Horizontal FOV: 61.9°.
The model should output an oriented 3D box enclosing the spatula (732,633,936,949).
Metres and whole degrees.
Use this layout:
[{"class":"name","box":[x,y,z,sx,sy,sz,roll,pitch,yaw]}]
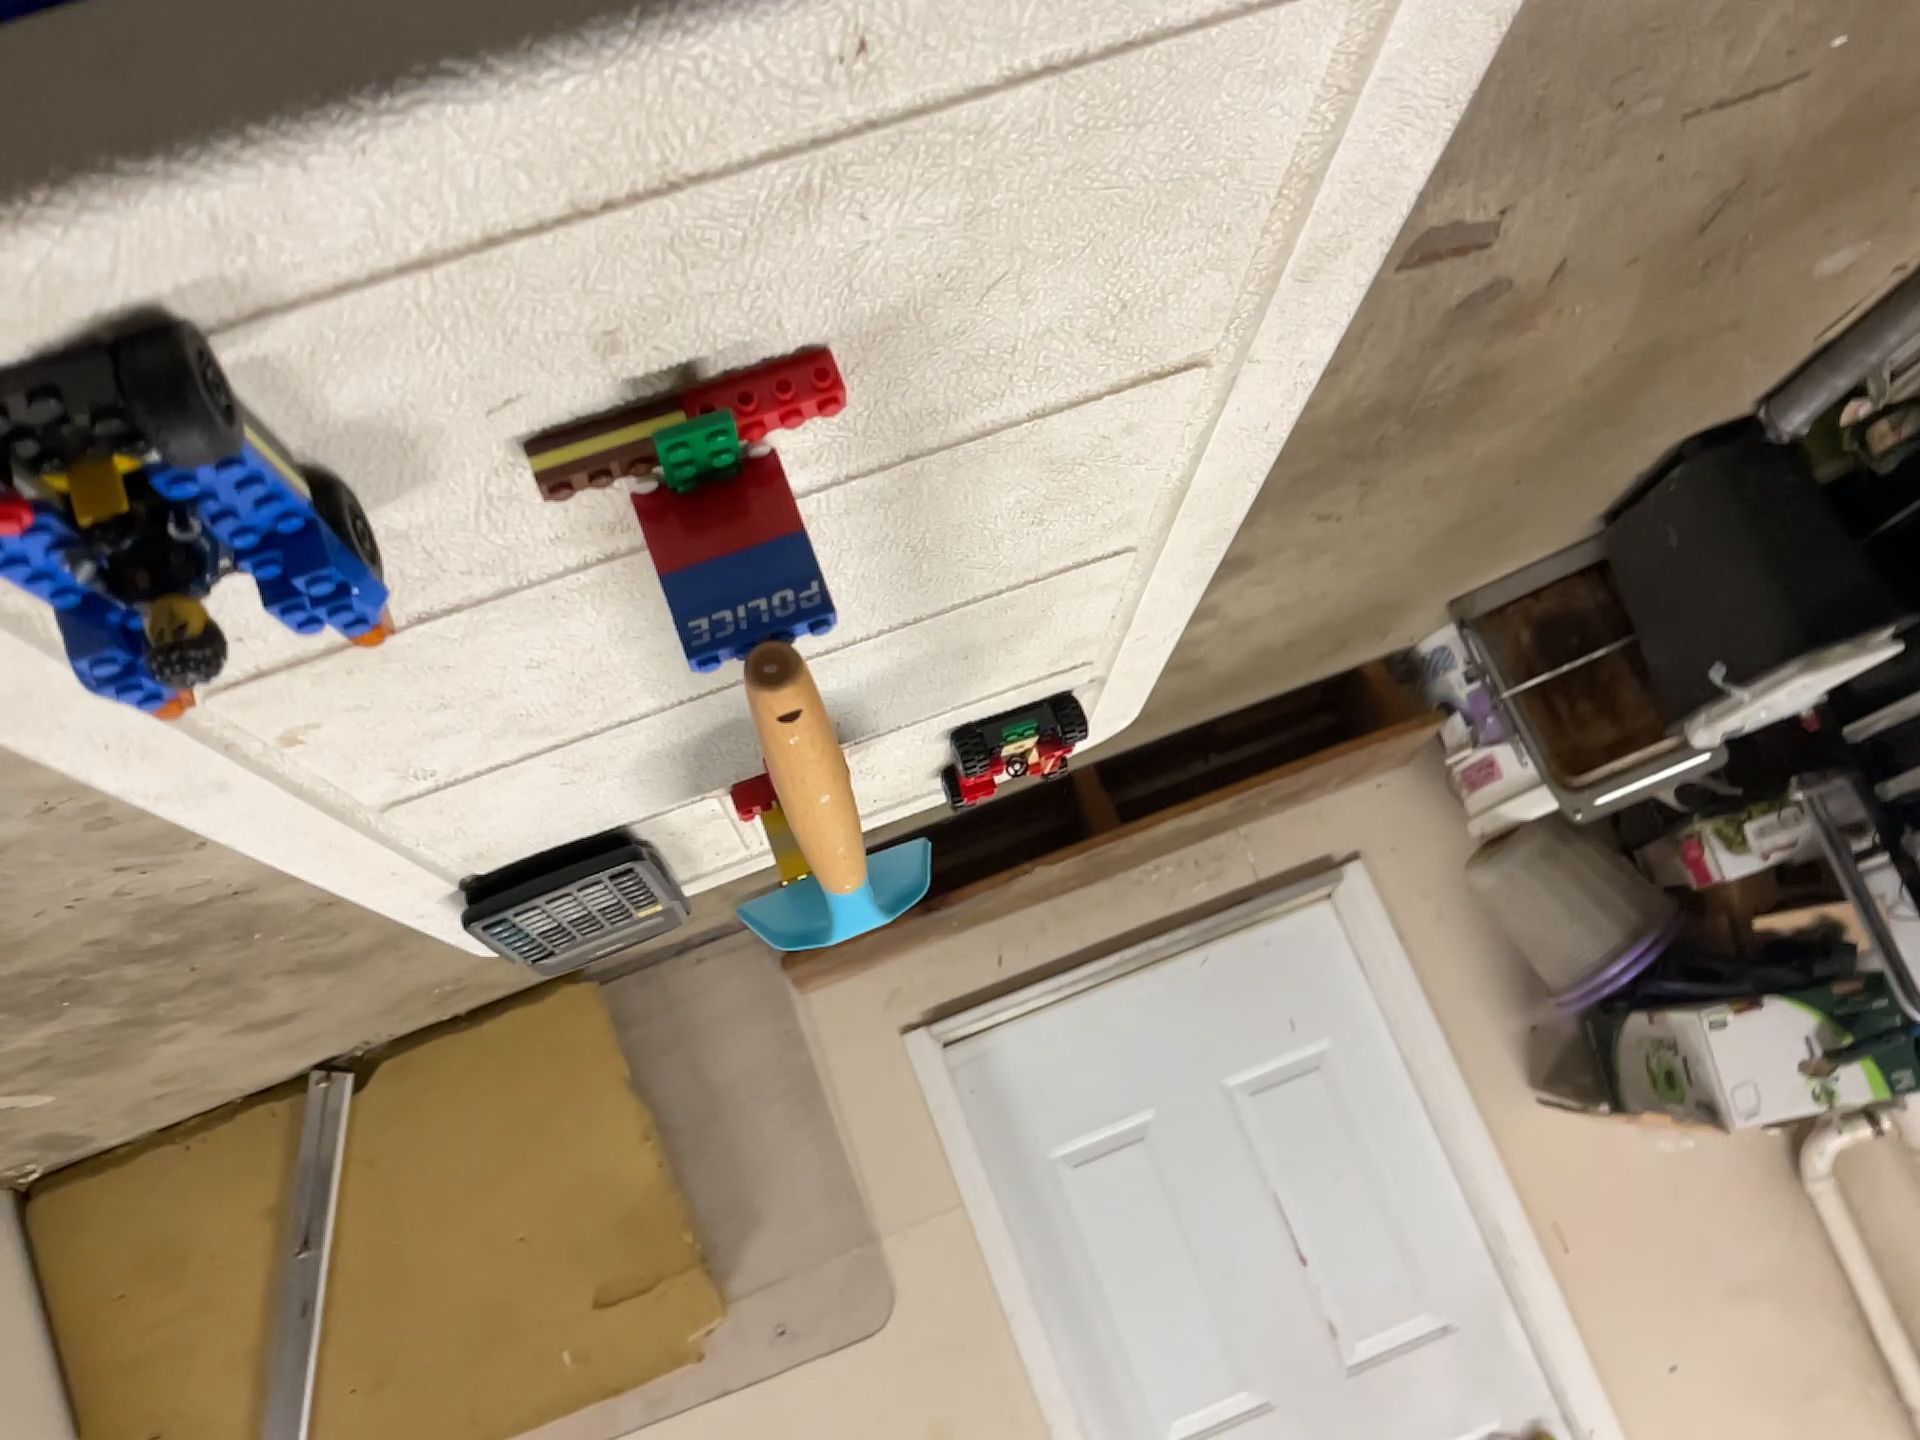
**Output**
[{"class":"spatula","box":[-0.041,0.029,0.469,0.082,0.044,0.317,-19,163,-7]}]
